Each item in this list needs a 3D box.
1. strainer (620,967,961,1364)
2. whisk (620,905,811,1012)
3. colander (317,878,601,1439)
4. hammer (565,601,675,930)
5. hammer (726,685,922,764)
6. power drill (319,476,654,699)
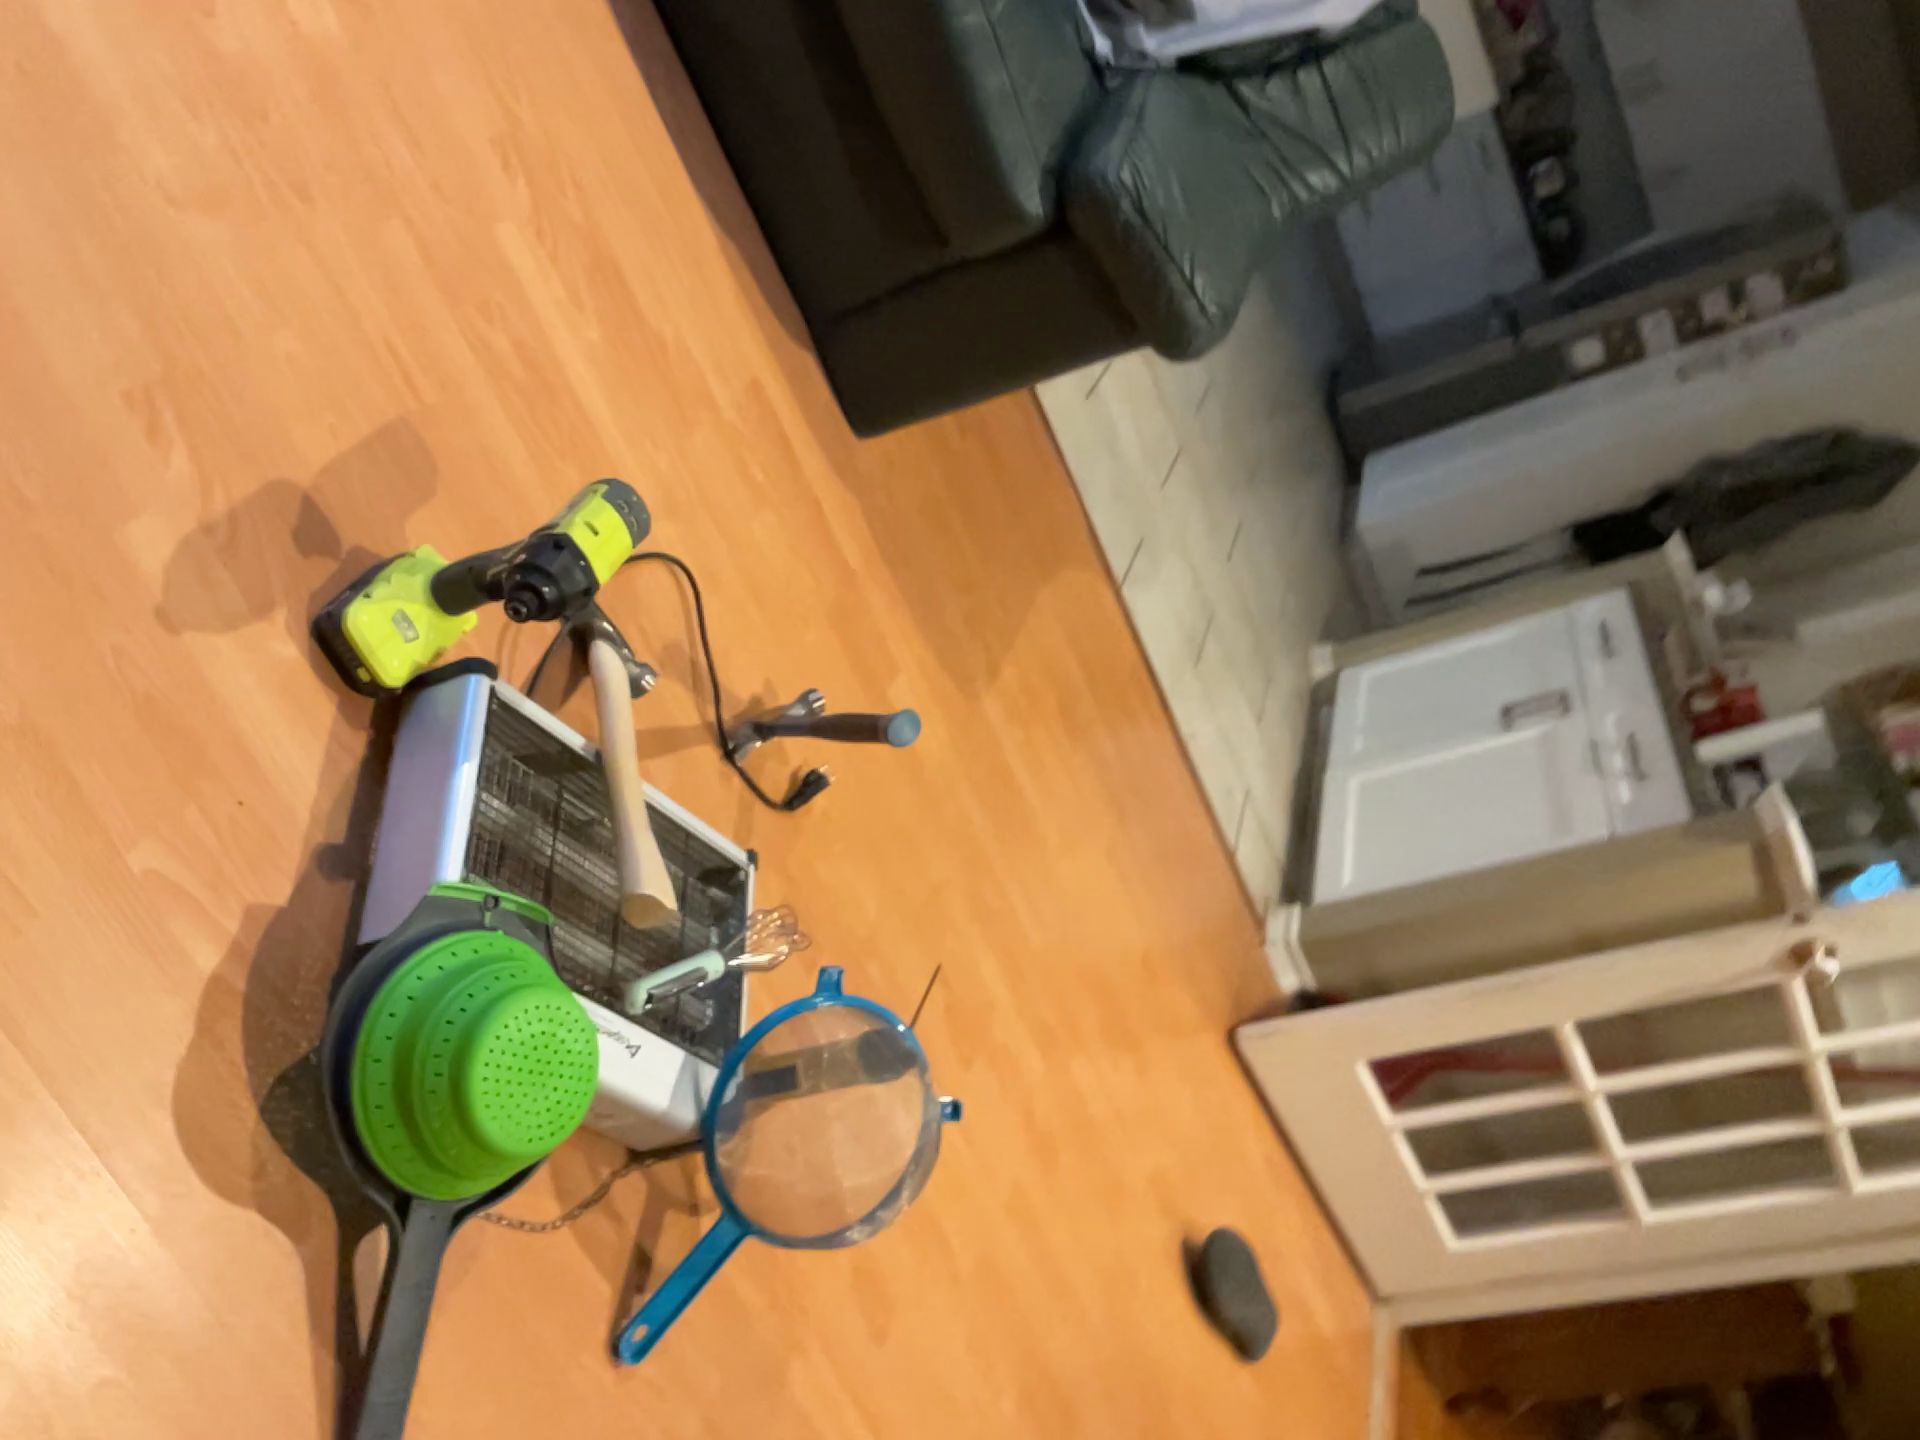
[{"bbox_3d":[-0.136,0.379,1.283,0.340,0.095,0.211,-48,113,-22],"label":"strainer"},{"bbox_3d":[-0.201,0.202,1.338,0.246,0.059,0.057,-14,116,-64],"label":"whisk"},{"bbox_3d":[-0.319,0.304,1.036,0.204,0.094,0.397,28,66,-50],"label":"colander"},{"bbox_3d":[-0.283,0.020,1.300,0.146,0.038,0.411,56,5,-36],"label":"hammer"},{"bbox_3d":[-0.126,0.004,1.544,0.128,0.331,0.033,-28,104,-26],"label":"hammer"},{"bbox_3d":[-0.351,-0.096,1.183,0.080,0.223,0.171,62,26,-23],"label":"power drill"}]
